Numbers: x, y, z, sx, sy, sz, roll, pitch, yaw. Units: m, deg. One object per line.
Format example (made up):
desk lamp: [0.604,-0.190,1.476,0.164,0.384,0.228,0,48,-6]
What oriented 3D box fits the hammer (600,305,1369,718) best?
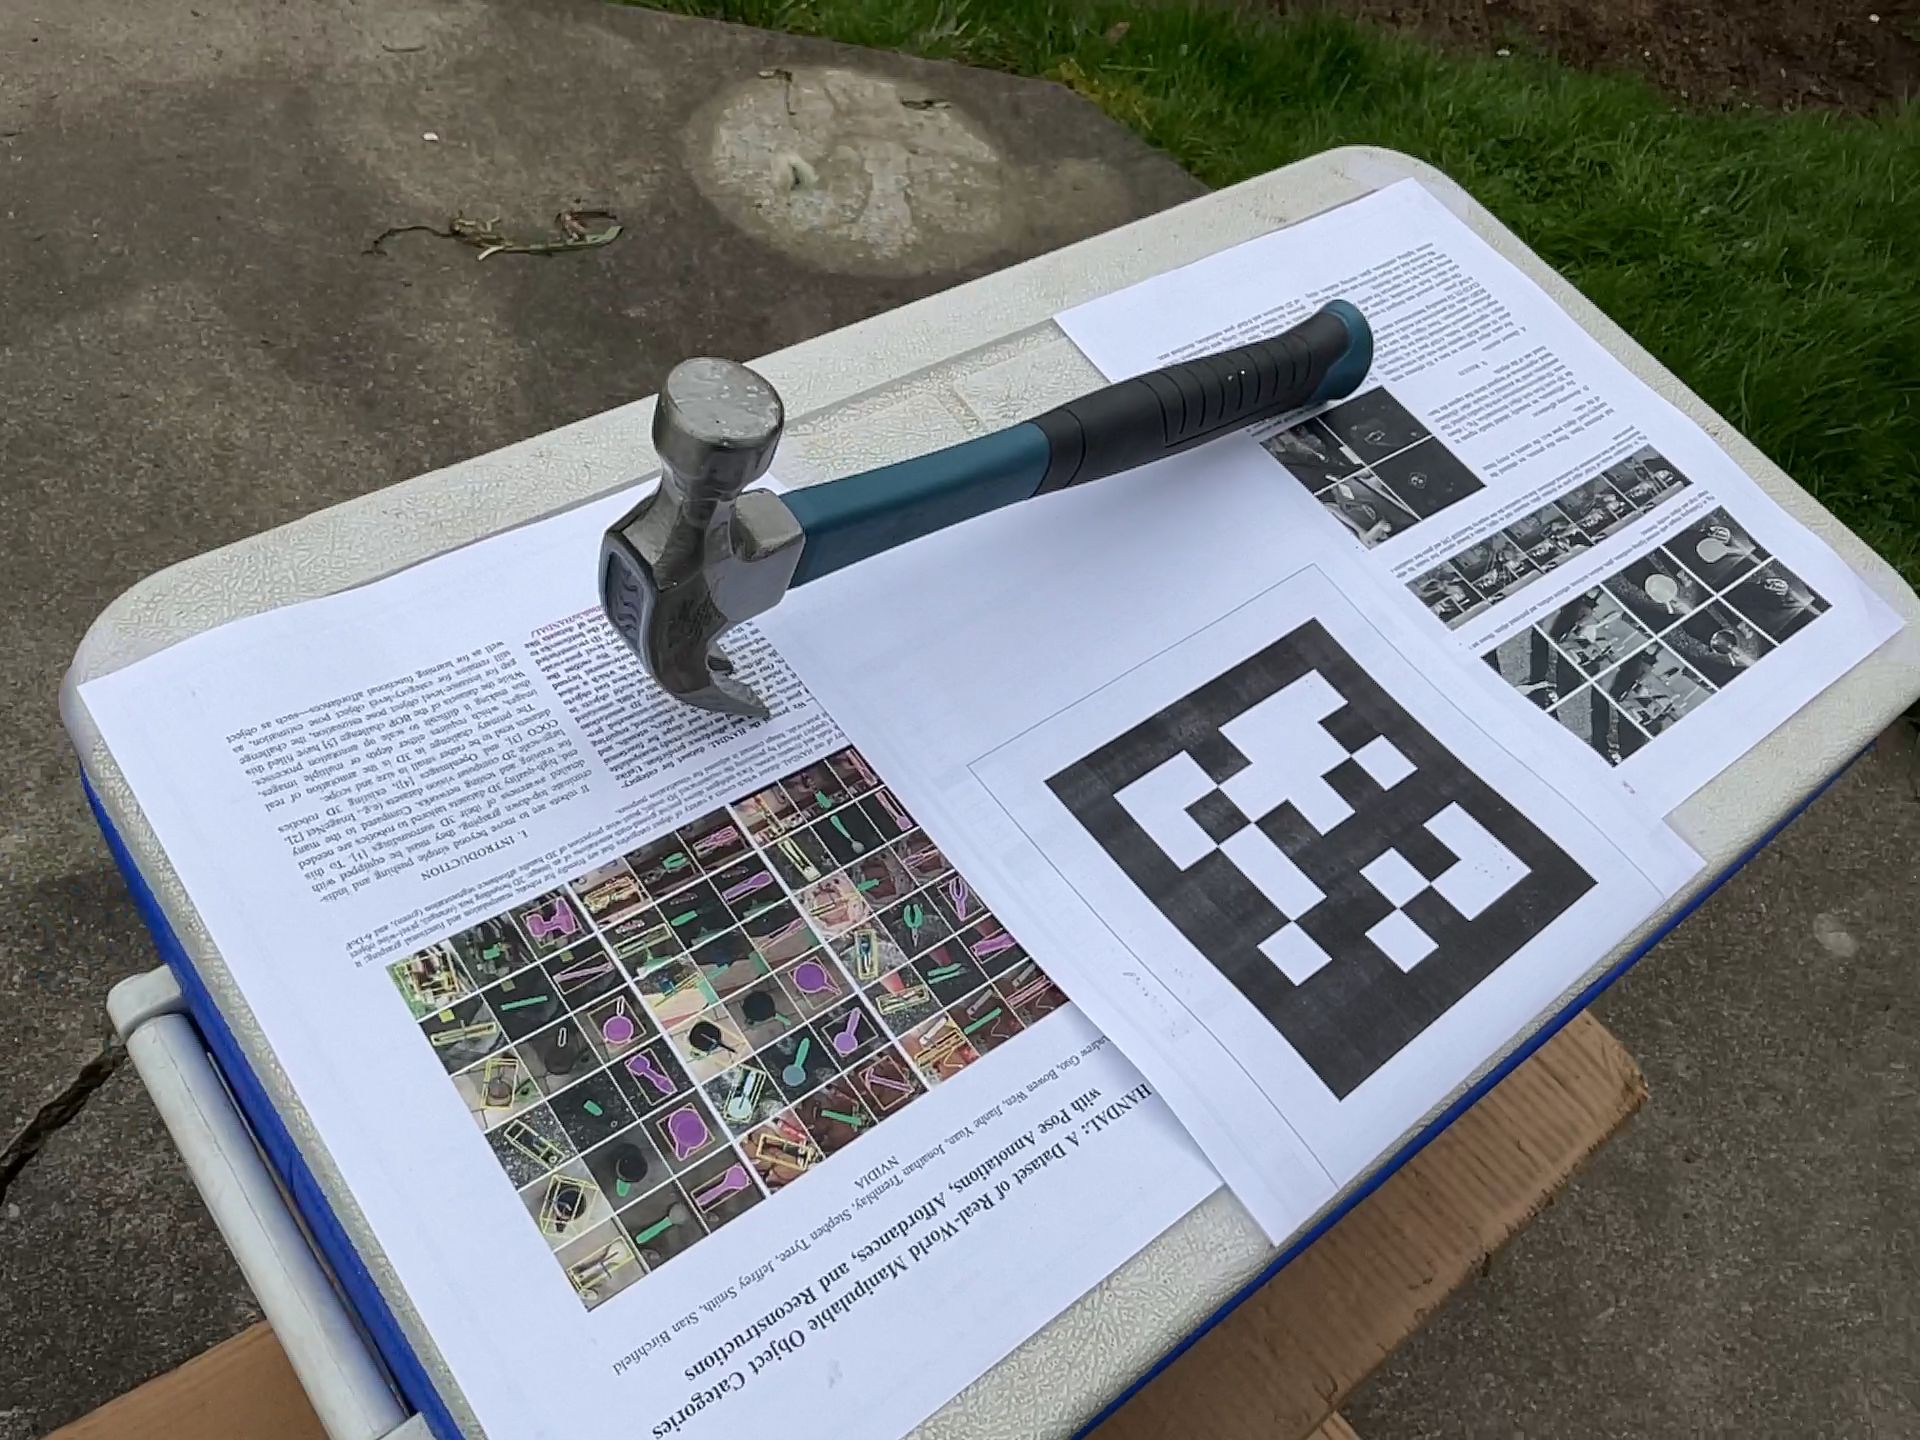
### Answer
hammer: [0.030,-0.086,0.510,0.331,0.128,0.033,-25,67,-39]
